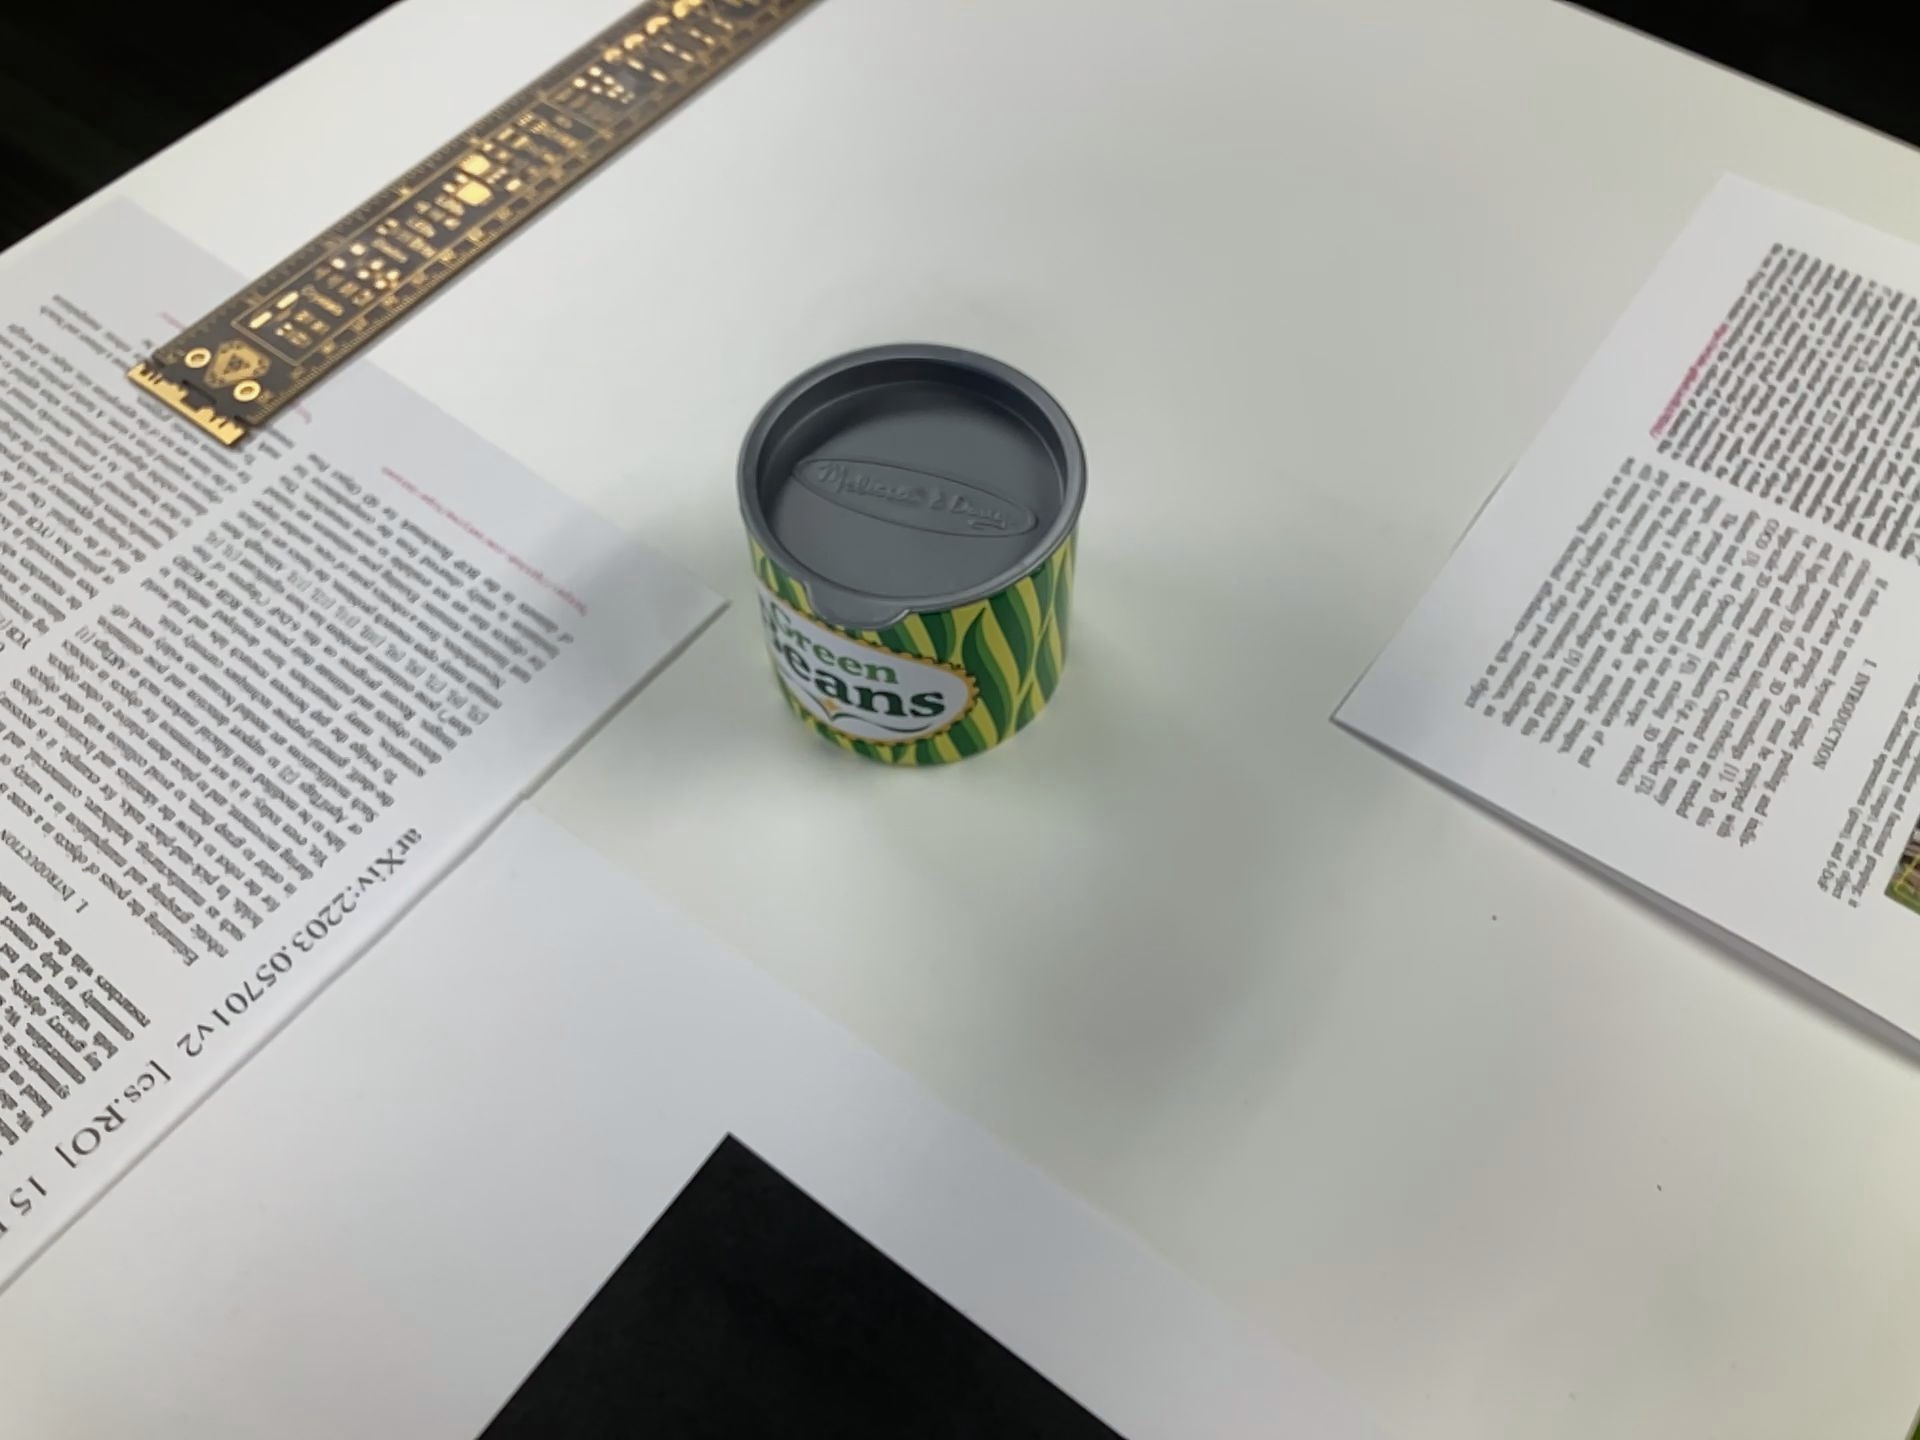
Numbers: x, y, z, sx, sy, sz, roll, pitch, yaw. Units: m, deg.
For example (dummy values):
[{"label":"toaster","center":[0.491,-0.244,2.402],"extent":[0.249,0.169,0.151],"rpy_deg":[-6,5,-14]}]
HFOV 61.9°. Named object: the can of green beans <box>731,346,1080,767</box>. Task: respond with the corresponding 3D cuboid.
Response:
[{"label":"can of green beans","center":[-0.011,-0.032,0.328],"extent":[0.071,0.058,0.071],"rpy_deg":[0,57,0]}]
